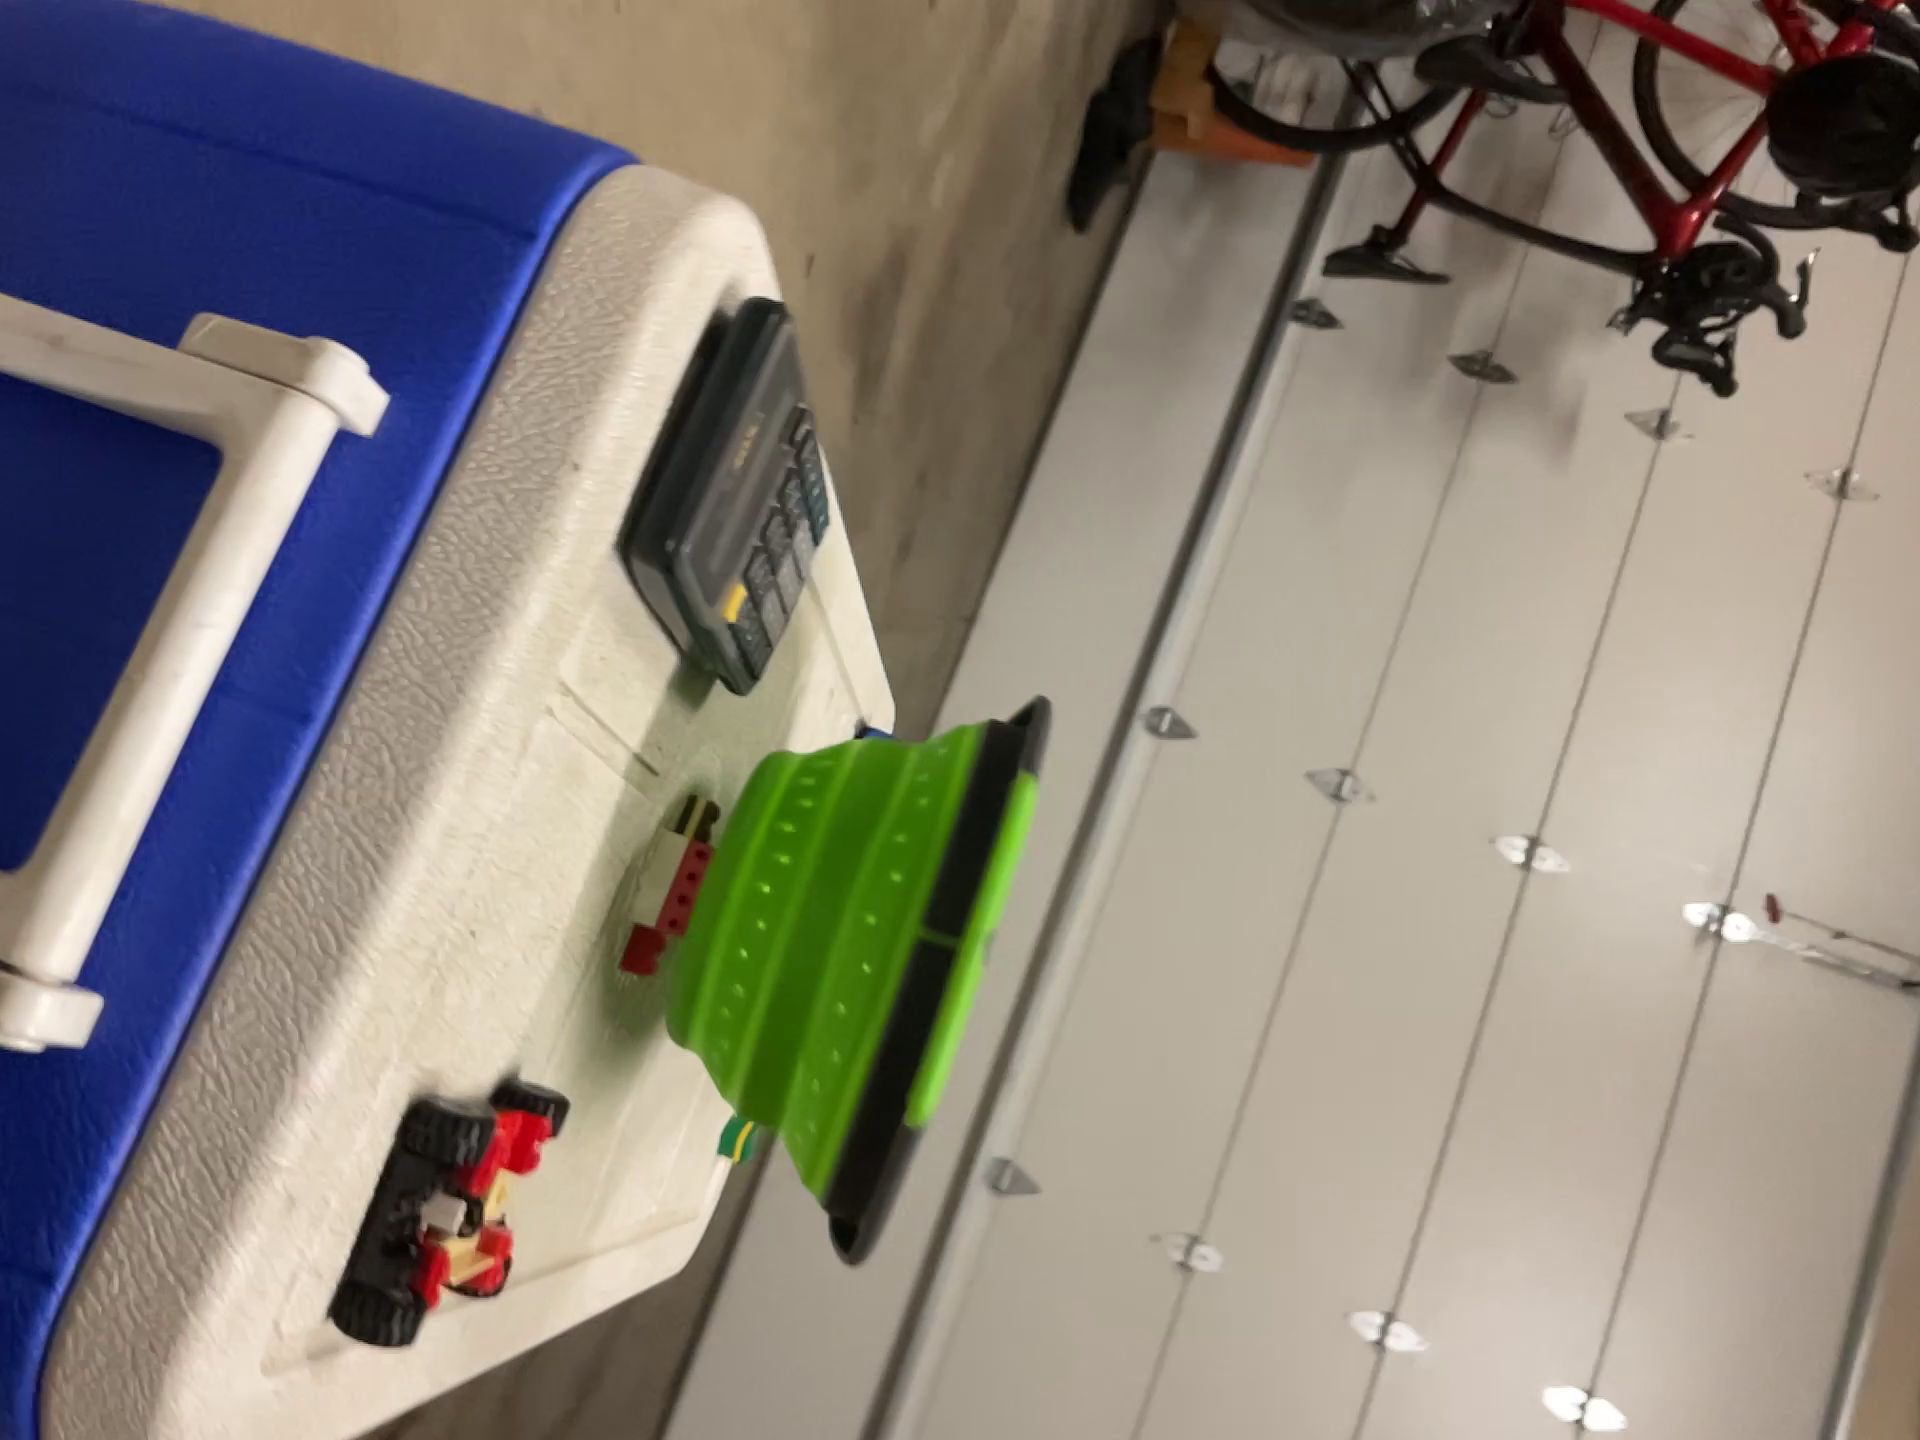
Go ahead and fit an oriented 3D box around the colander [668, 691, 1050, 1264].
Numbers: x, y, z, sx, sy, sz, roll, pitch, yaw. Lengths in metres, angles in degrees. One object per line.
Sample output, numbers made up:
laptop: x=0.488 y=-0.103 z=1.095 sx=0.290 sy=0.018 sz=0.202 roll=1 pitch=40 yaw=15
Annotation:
colander: x=-0.048 y=0.094 z=0.640 sx=0.396 sy=0.094 sz=0.204 roll=106 pitch=2 yaw=-76
